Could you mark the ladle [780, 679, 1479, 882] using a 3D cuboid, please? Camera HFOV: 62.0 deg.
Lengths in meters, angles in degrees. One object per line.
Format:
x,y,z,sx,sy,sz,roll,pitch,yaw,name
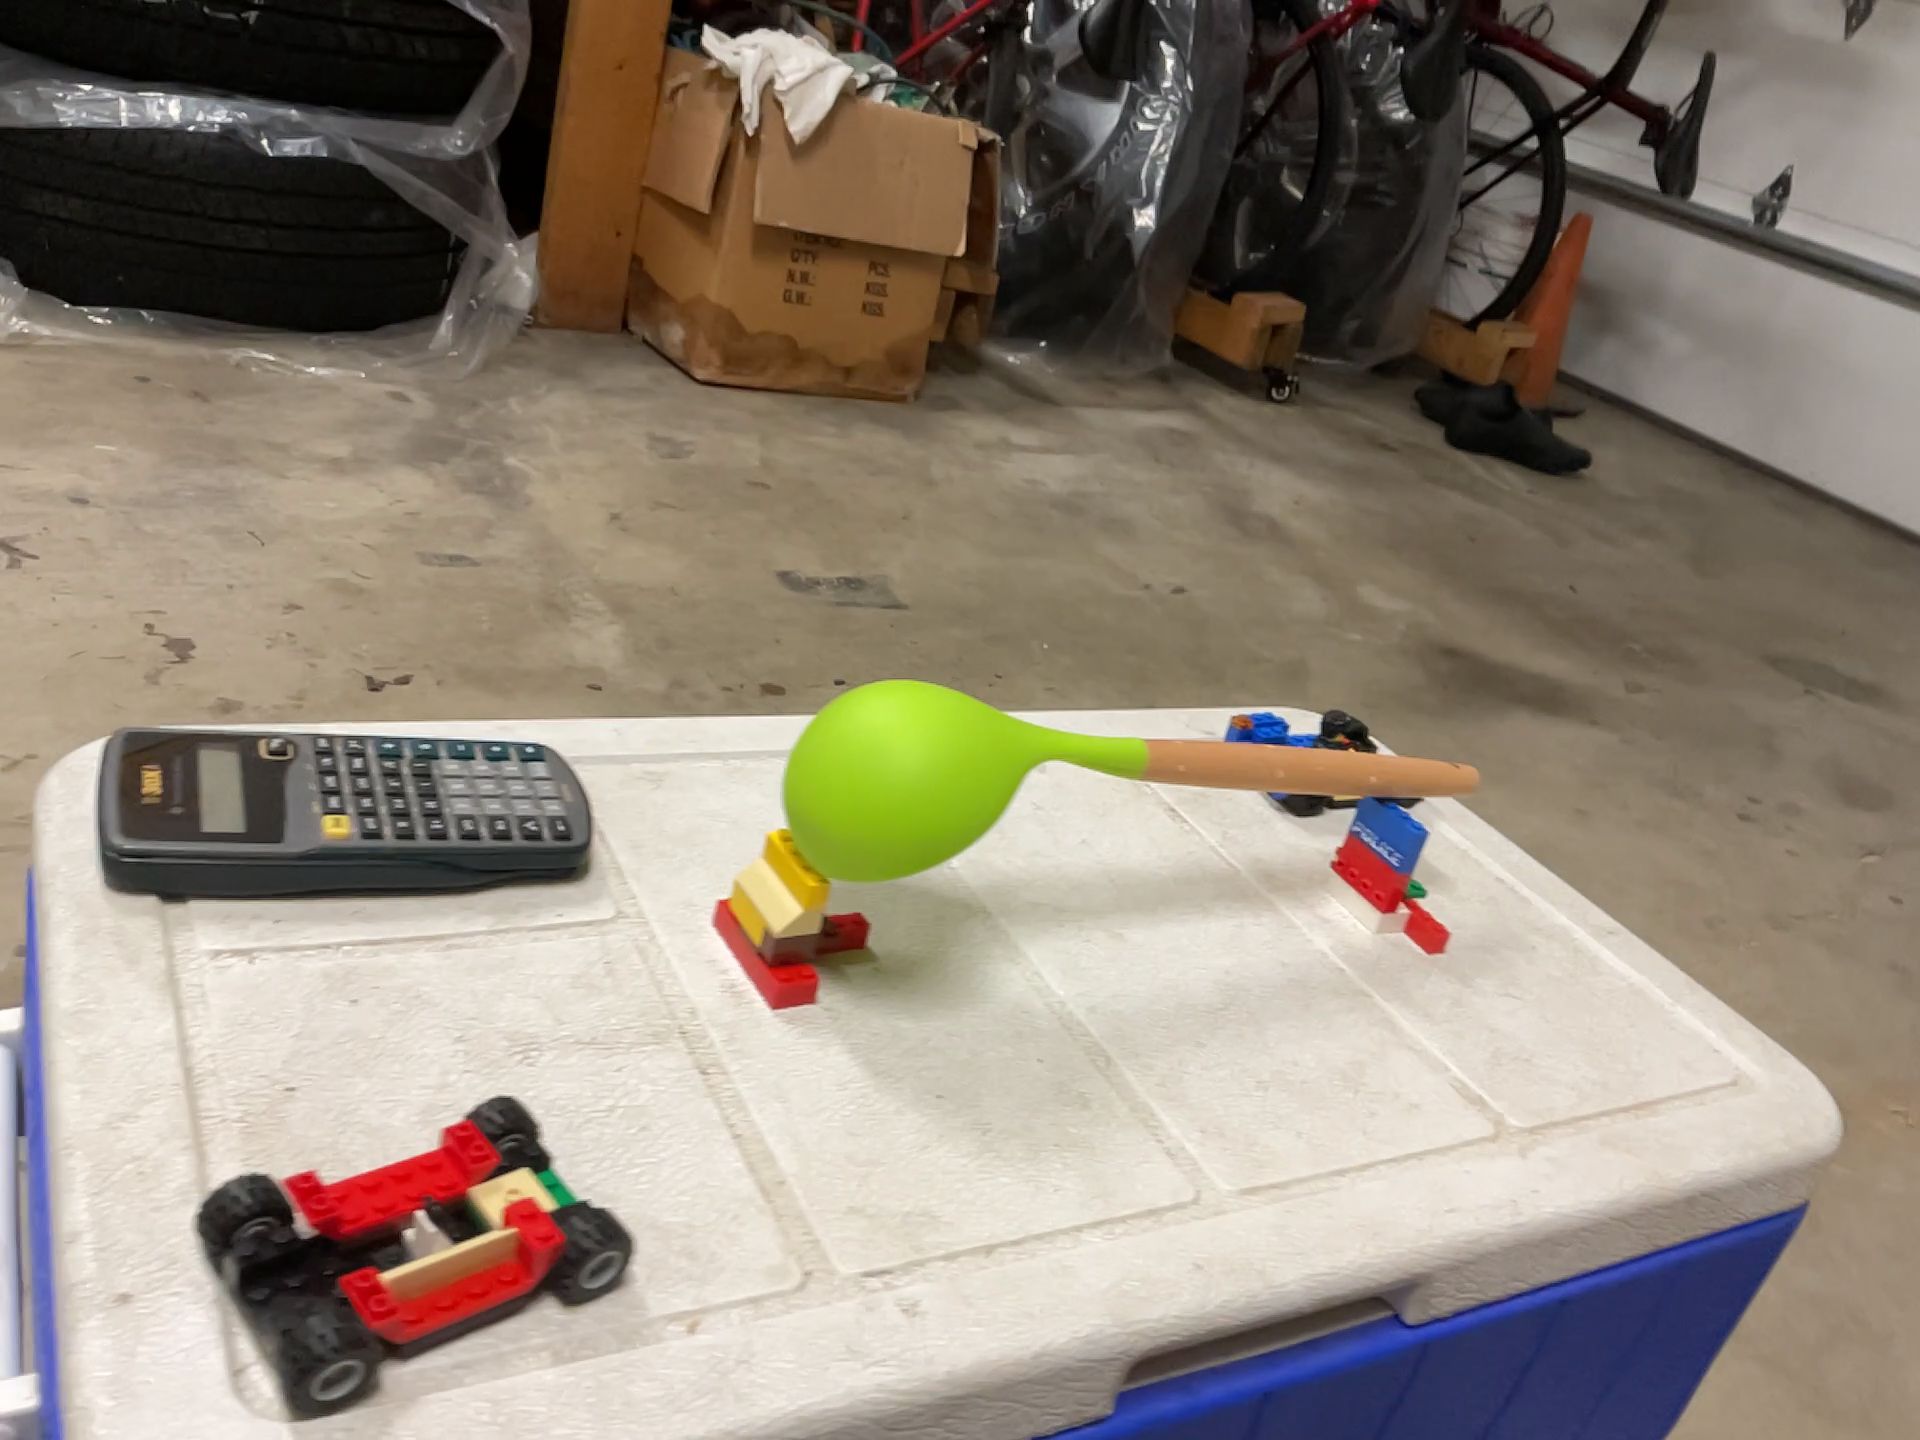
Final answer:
0.081,0.027,0.589,0.320,0.062,0.078,5,20,-35,ladle
